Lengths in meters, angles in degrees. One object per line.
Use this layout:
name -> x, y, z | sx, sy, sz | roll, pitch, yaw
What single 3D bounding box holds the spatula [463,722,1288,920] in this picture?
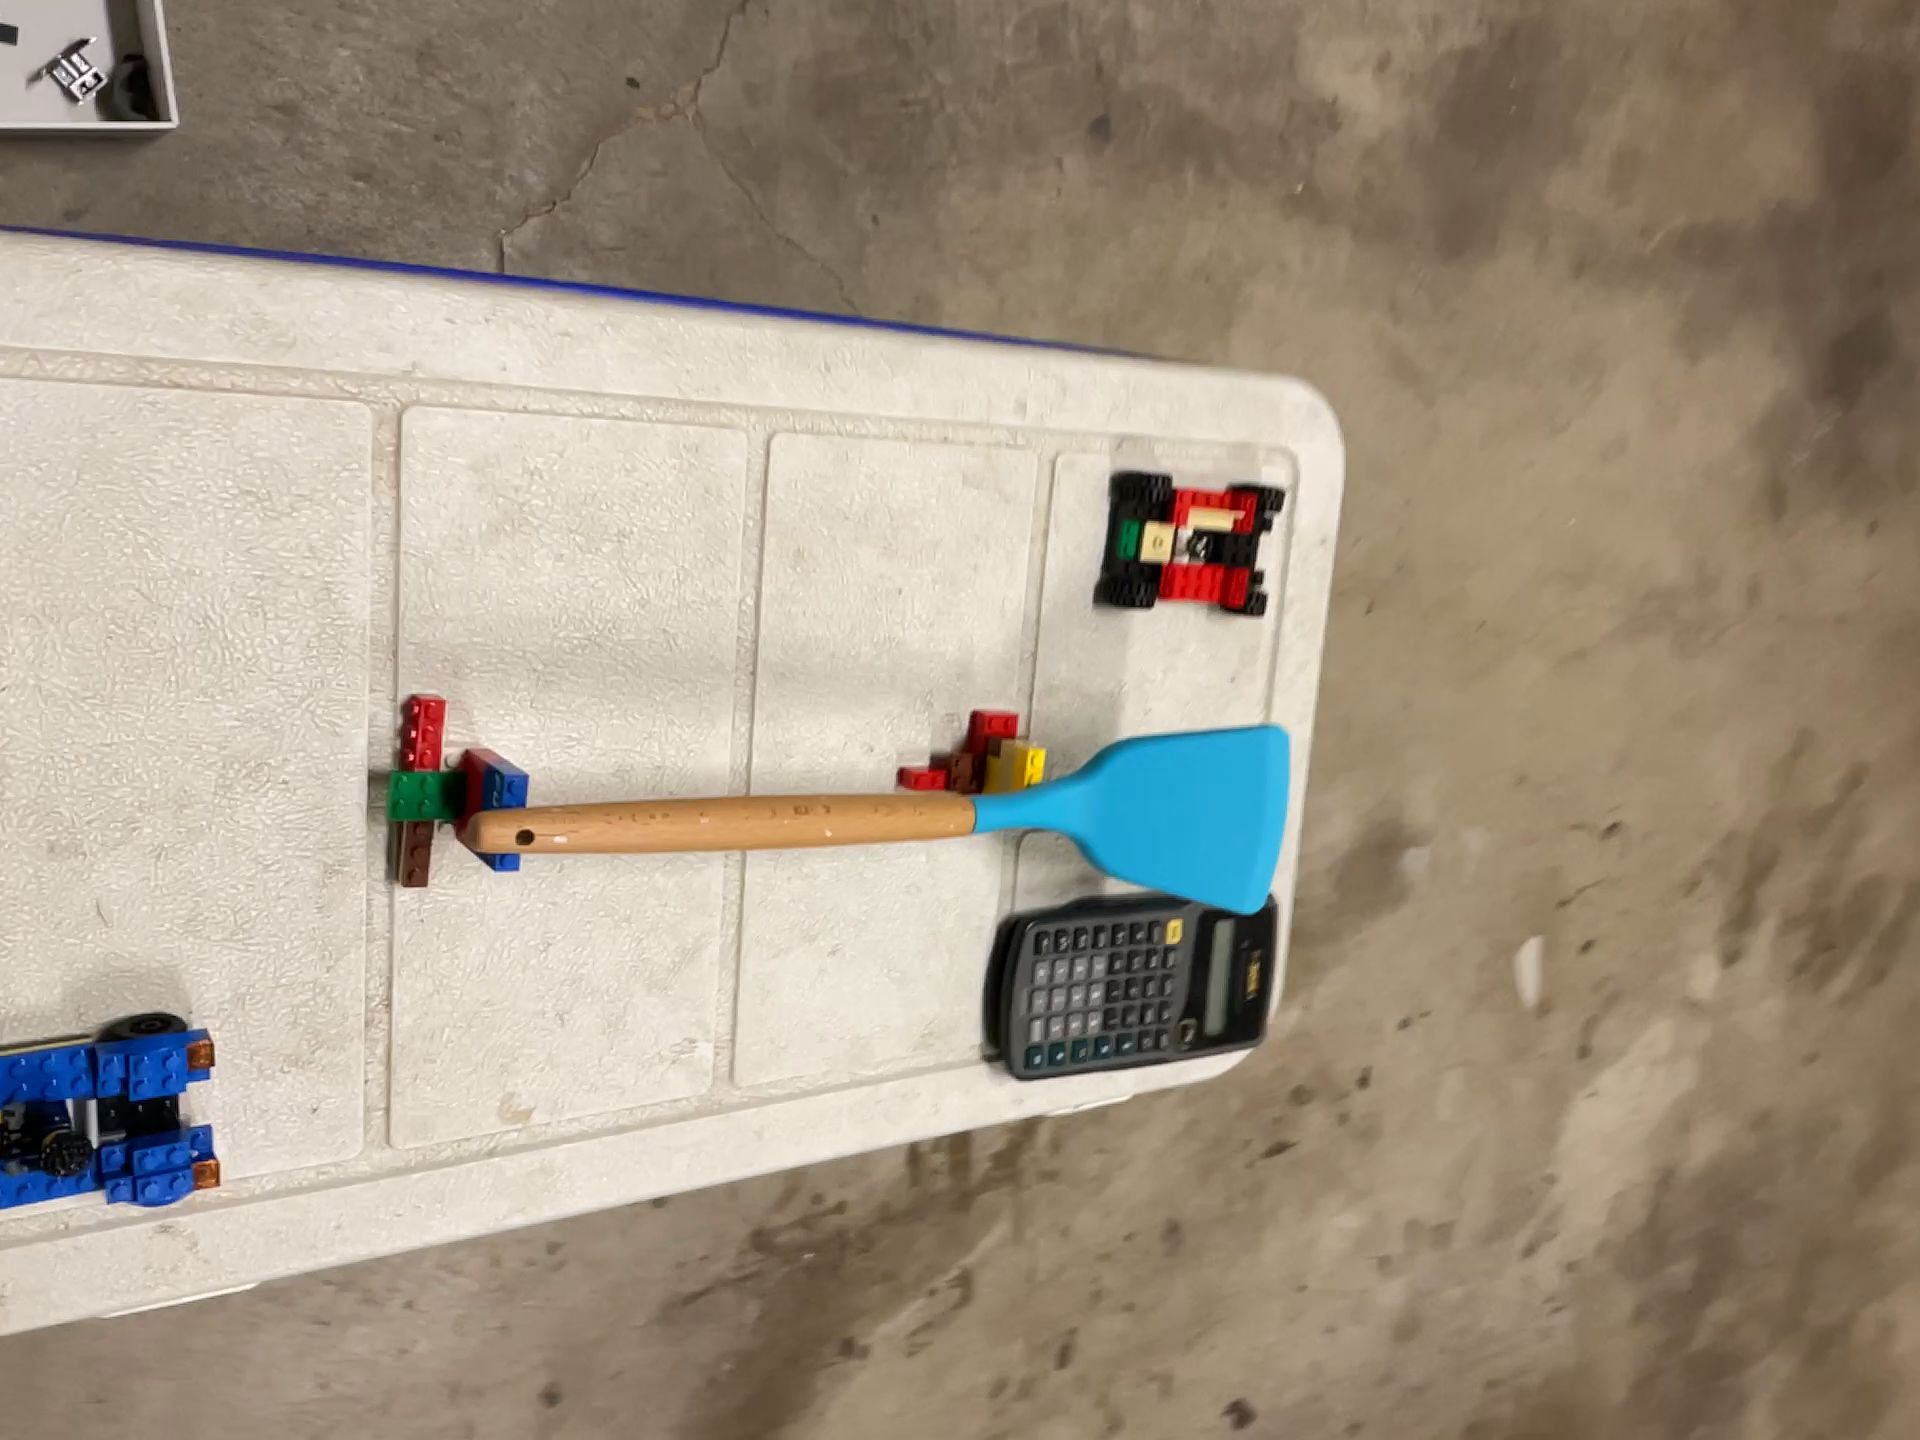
spatula -> -0.015, 0.037, 0.572 | 0.317, 0.044, 0.082 | 0, 104, -34
